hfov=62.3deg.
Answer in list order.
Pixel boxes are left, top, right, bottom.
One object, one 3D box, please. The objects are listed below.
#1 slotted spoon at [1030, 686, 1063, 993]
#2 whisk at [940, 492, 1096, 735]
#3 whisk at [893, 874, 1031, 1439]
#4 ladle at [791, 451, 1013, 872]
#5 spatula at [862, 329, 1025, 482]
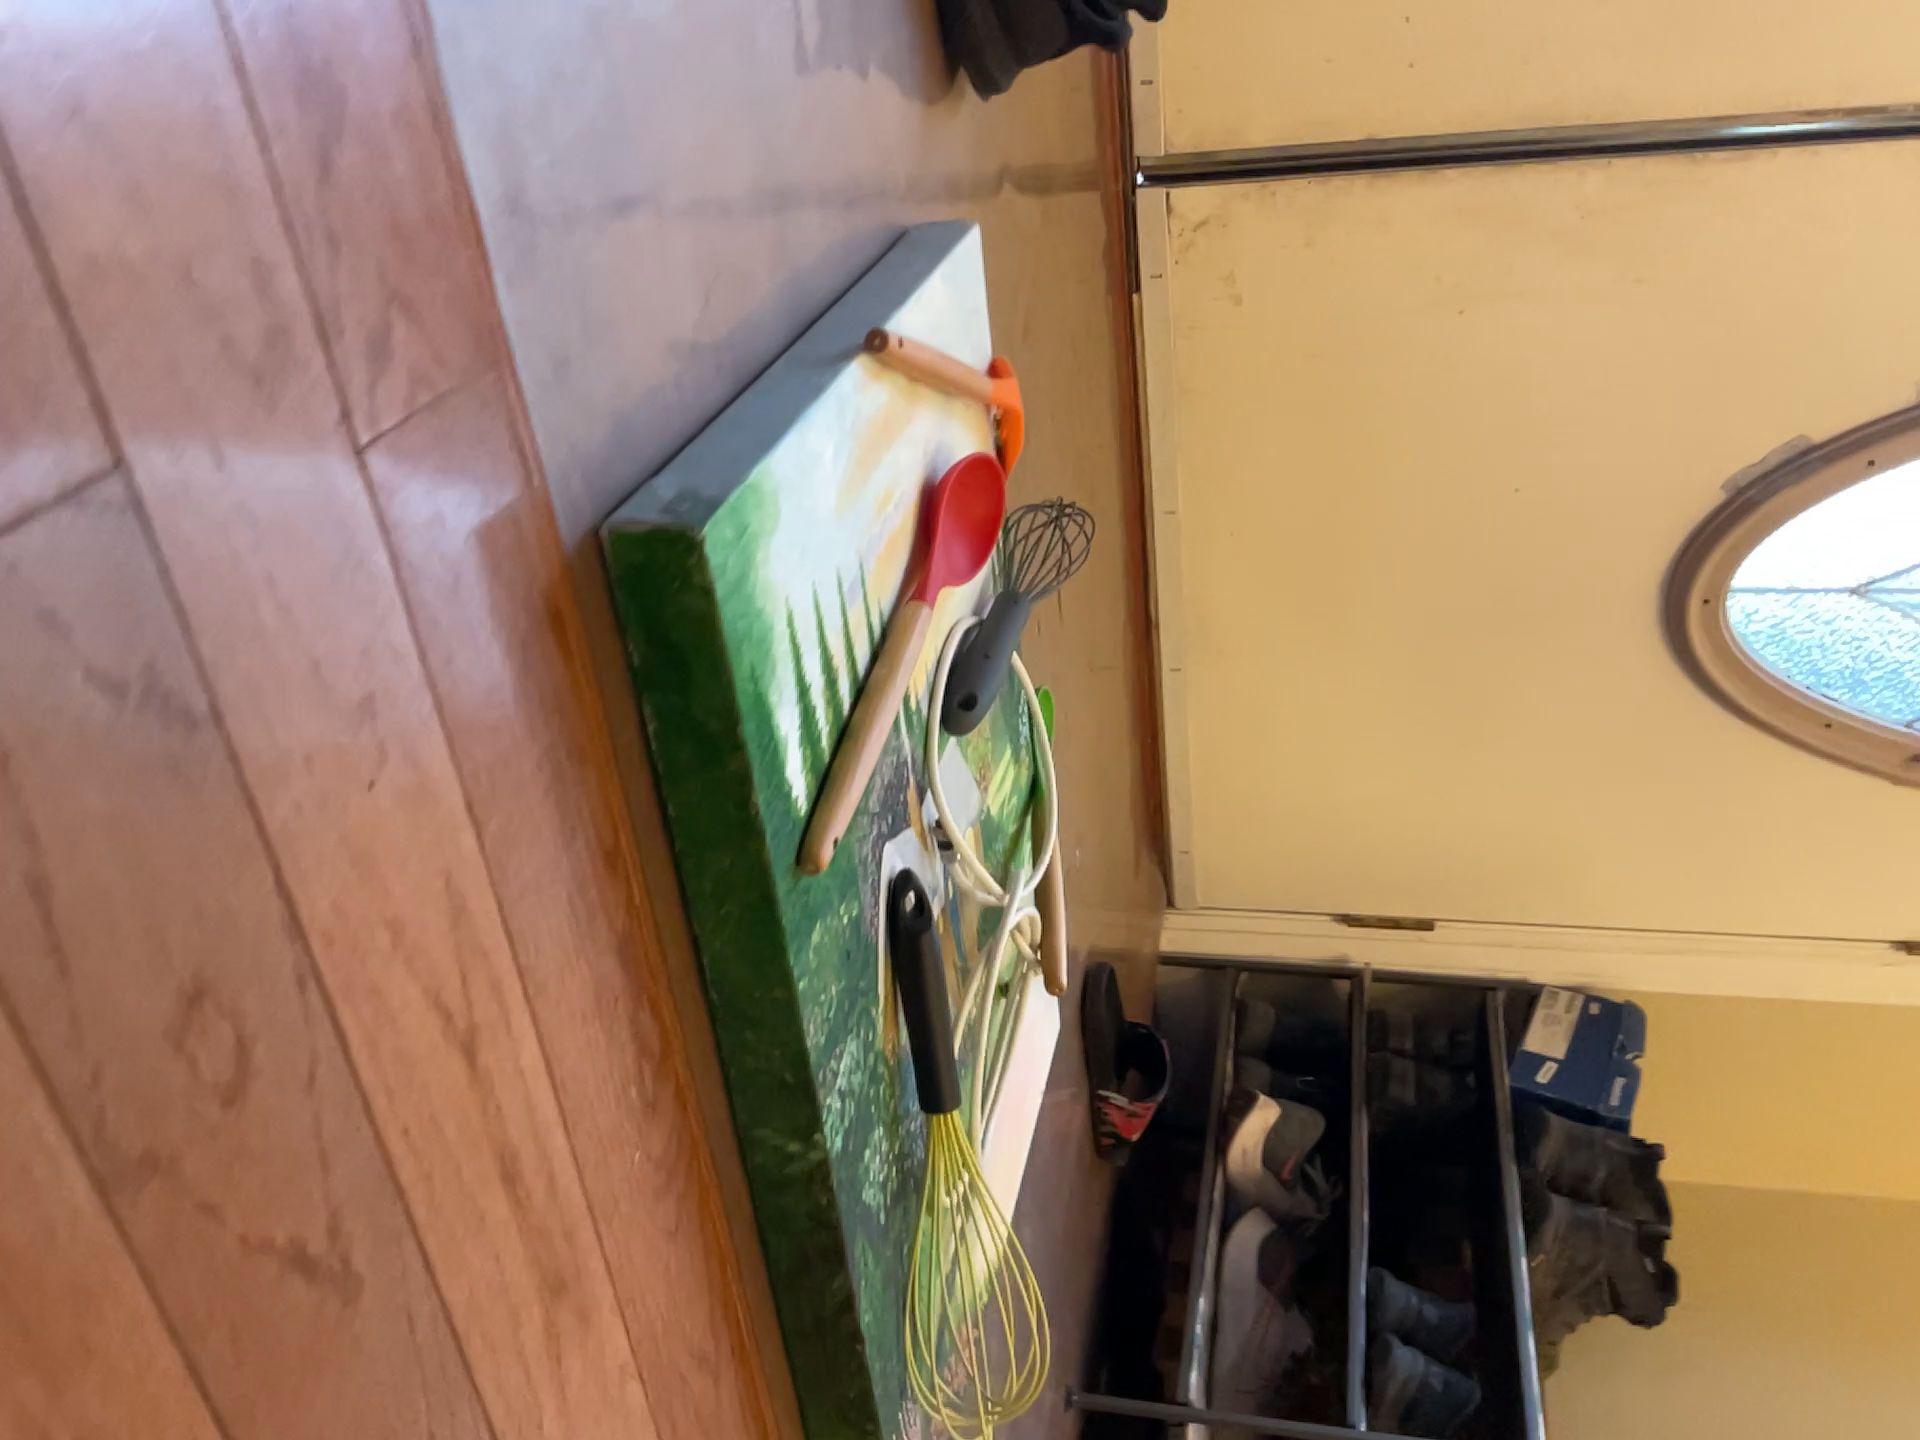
[{"bbox_3d":[0.057,0.075,1.078,0.314,0.031,0.070,-88,172,-58],"label":"slotted spoon"},{"bbox_3d":[0.034,-0.067,0.963,0.239,0.055,0.055,-63,141,-47],"label":"whisk"},{"bbox_3d":[-0.008,0.229,0.824,0.080,0.067,0.311,-53,136,-75],"label":"whisk"},{"bbox_3d":[-0.025,-0.037,0.773,0.316,0.031,0.069,-68,154,-48],"label":"ladle"},{"bbox_3d":[-0.003,-0.184,0.883,0.322,0.041,0.081,-16,96,-73],"label":"spatula"}]
